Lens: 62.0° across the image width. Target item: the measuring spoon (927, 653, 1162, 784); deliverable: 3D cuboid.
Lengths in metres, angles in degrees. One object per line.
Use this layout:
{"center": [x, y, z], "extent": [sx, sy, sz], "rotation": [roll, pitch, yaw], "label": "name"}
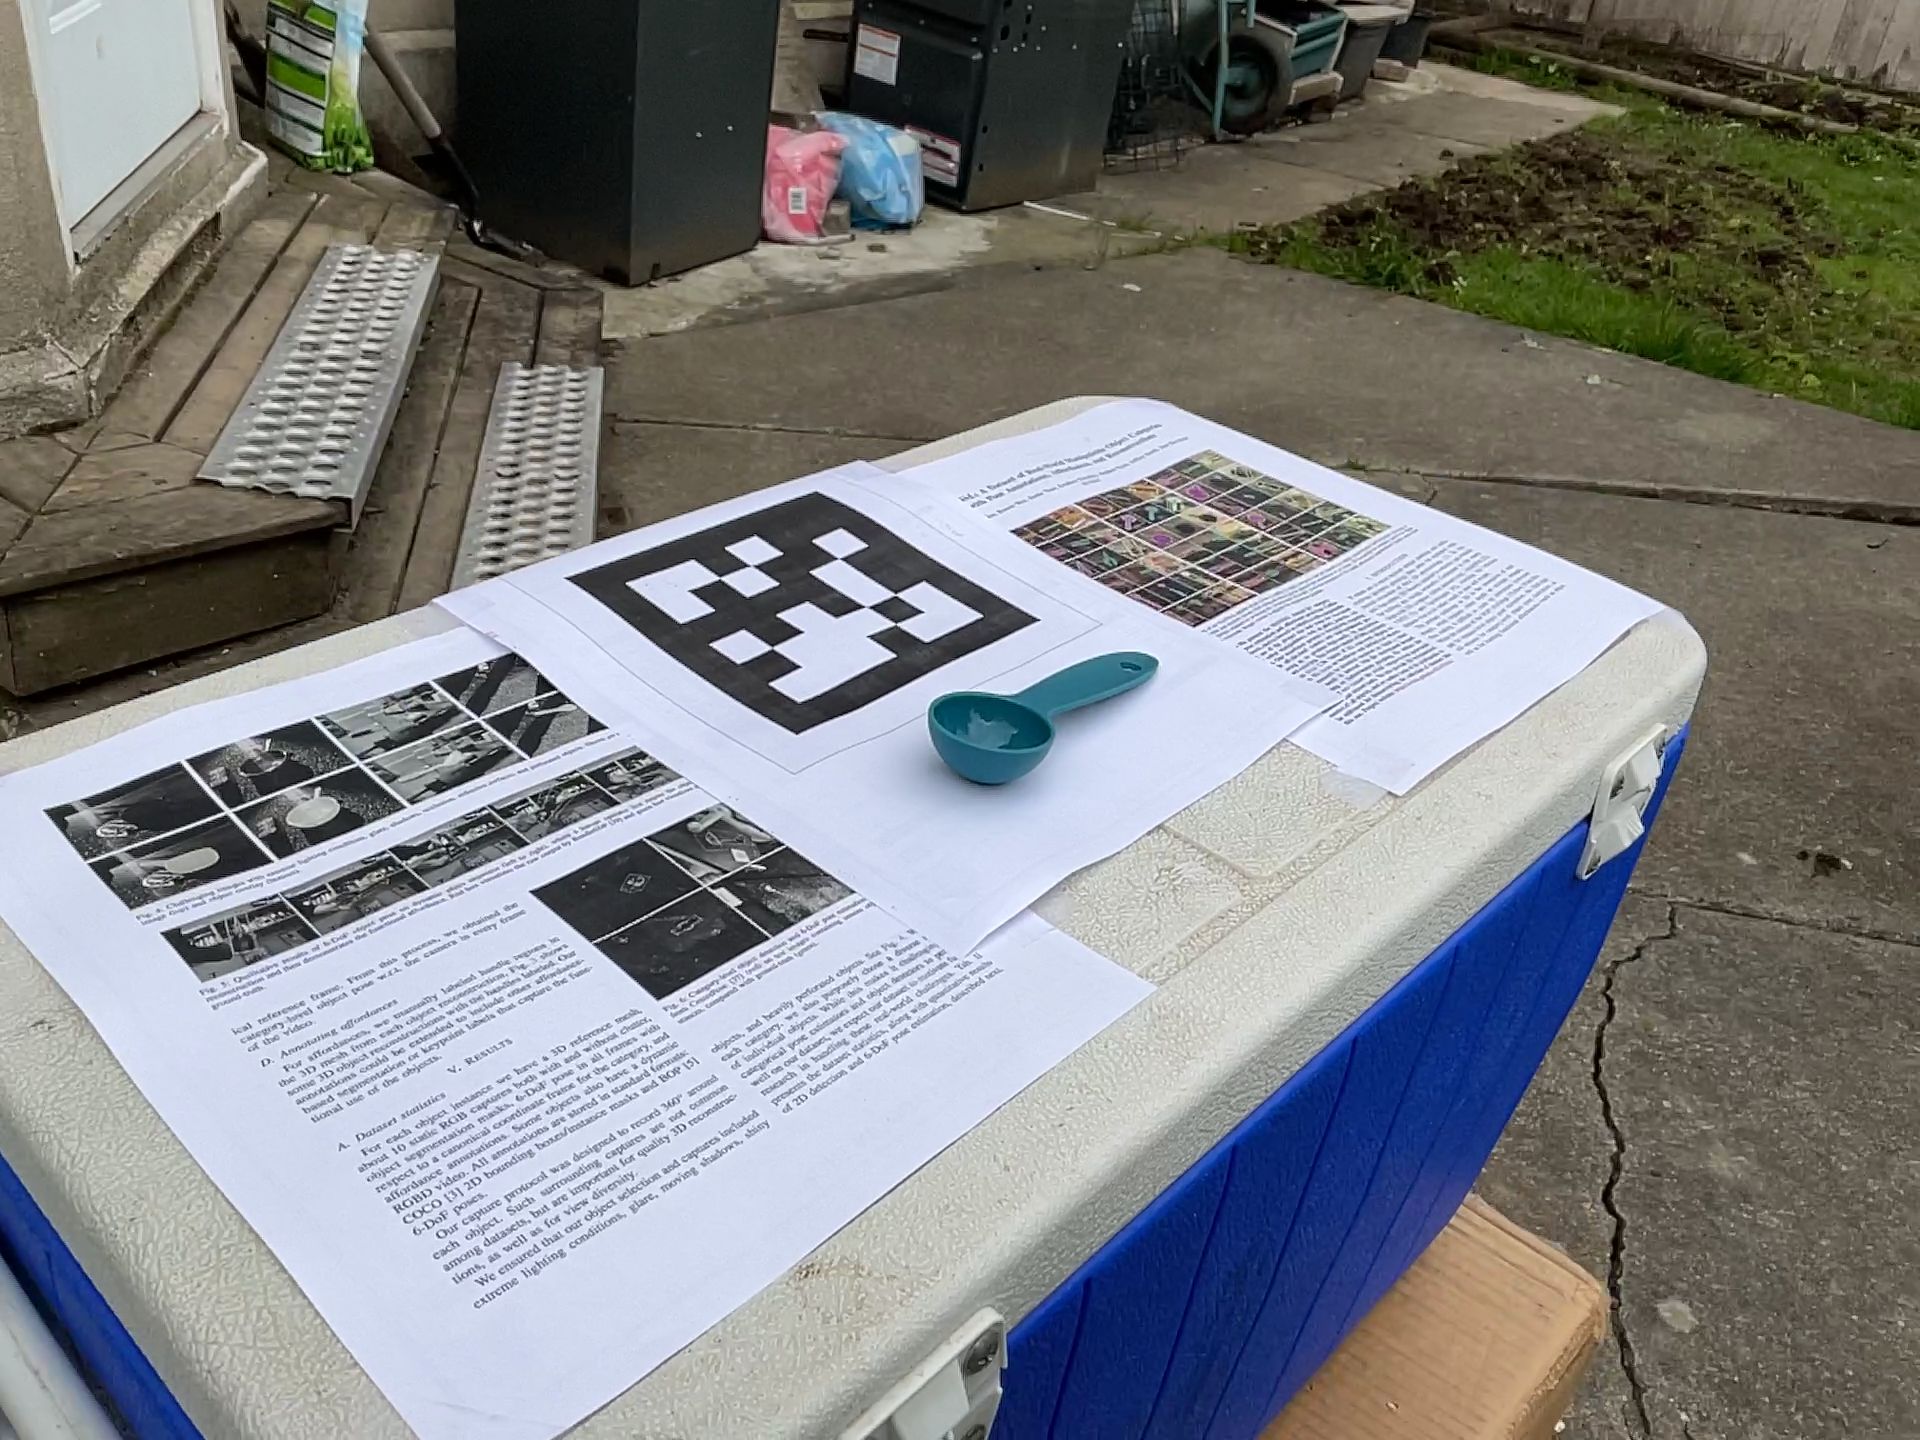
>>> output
{"center": [0.034, -0.001, 0.558], "extent": [0.042, 0.021, 0.128], "rotation": [27, 28, 29], "label": "measuring spoon"}
